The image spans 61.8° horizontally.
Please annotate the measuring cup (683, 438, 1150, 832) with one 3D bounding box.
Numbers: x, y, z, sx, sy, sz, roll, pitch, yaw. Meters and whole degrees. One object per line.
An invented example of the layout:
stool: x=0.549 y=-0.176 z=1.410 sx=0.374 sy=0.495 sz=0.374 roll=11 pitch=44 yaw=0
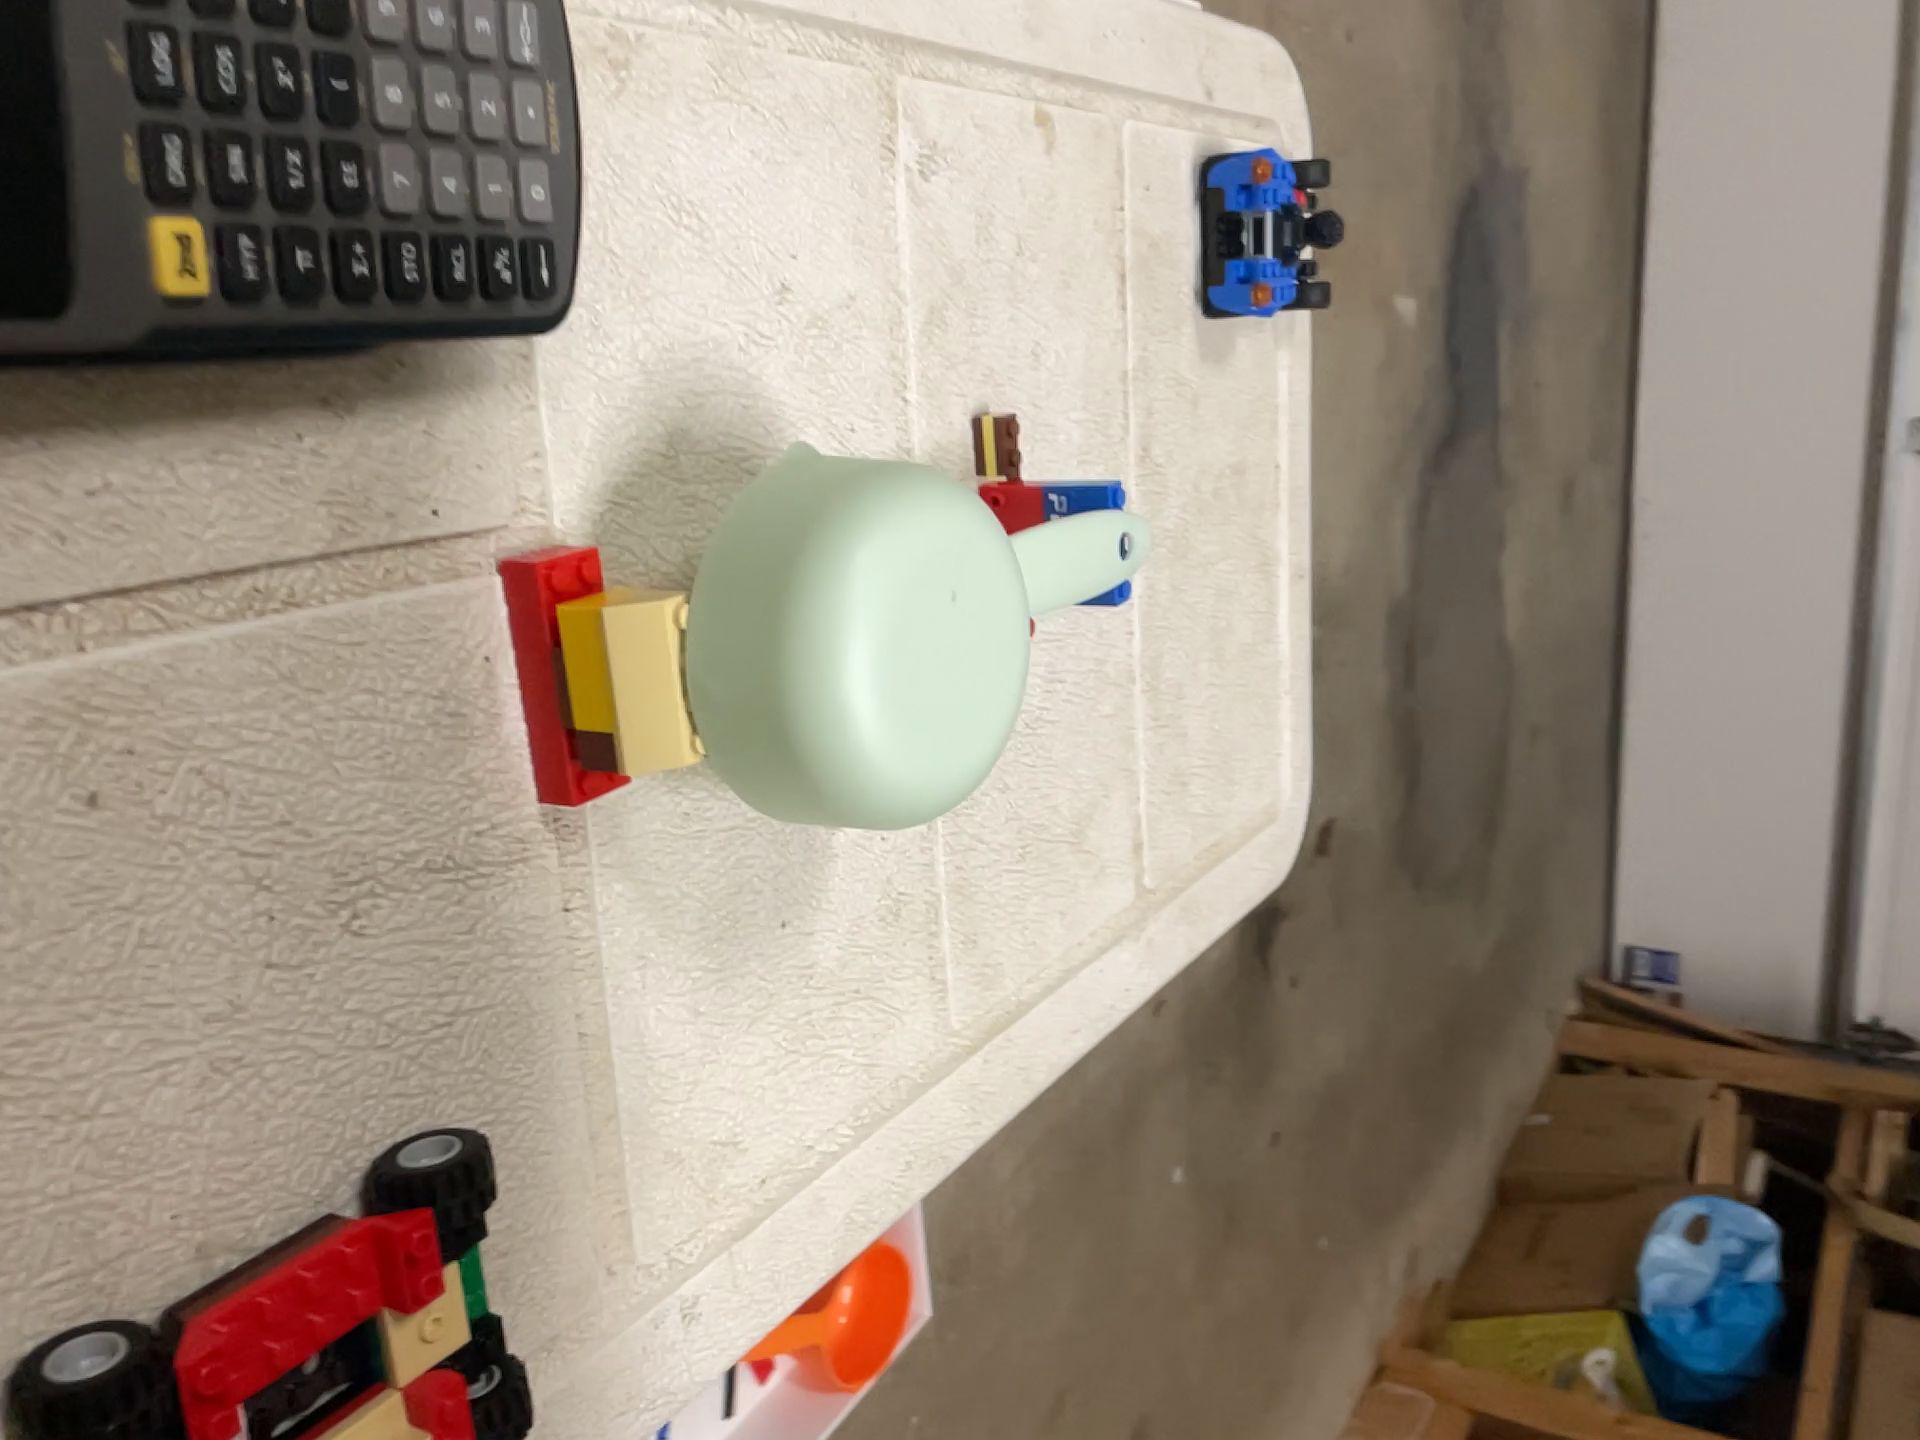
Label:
measuring cup: x=0.011 y=-0.026 z=0.356 sx=0.168 sy=0.038 sz=0.083 roll=-22 pitch=113 yaw=-49
